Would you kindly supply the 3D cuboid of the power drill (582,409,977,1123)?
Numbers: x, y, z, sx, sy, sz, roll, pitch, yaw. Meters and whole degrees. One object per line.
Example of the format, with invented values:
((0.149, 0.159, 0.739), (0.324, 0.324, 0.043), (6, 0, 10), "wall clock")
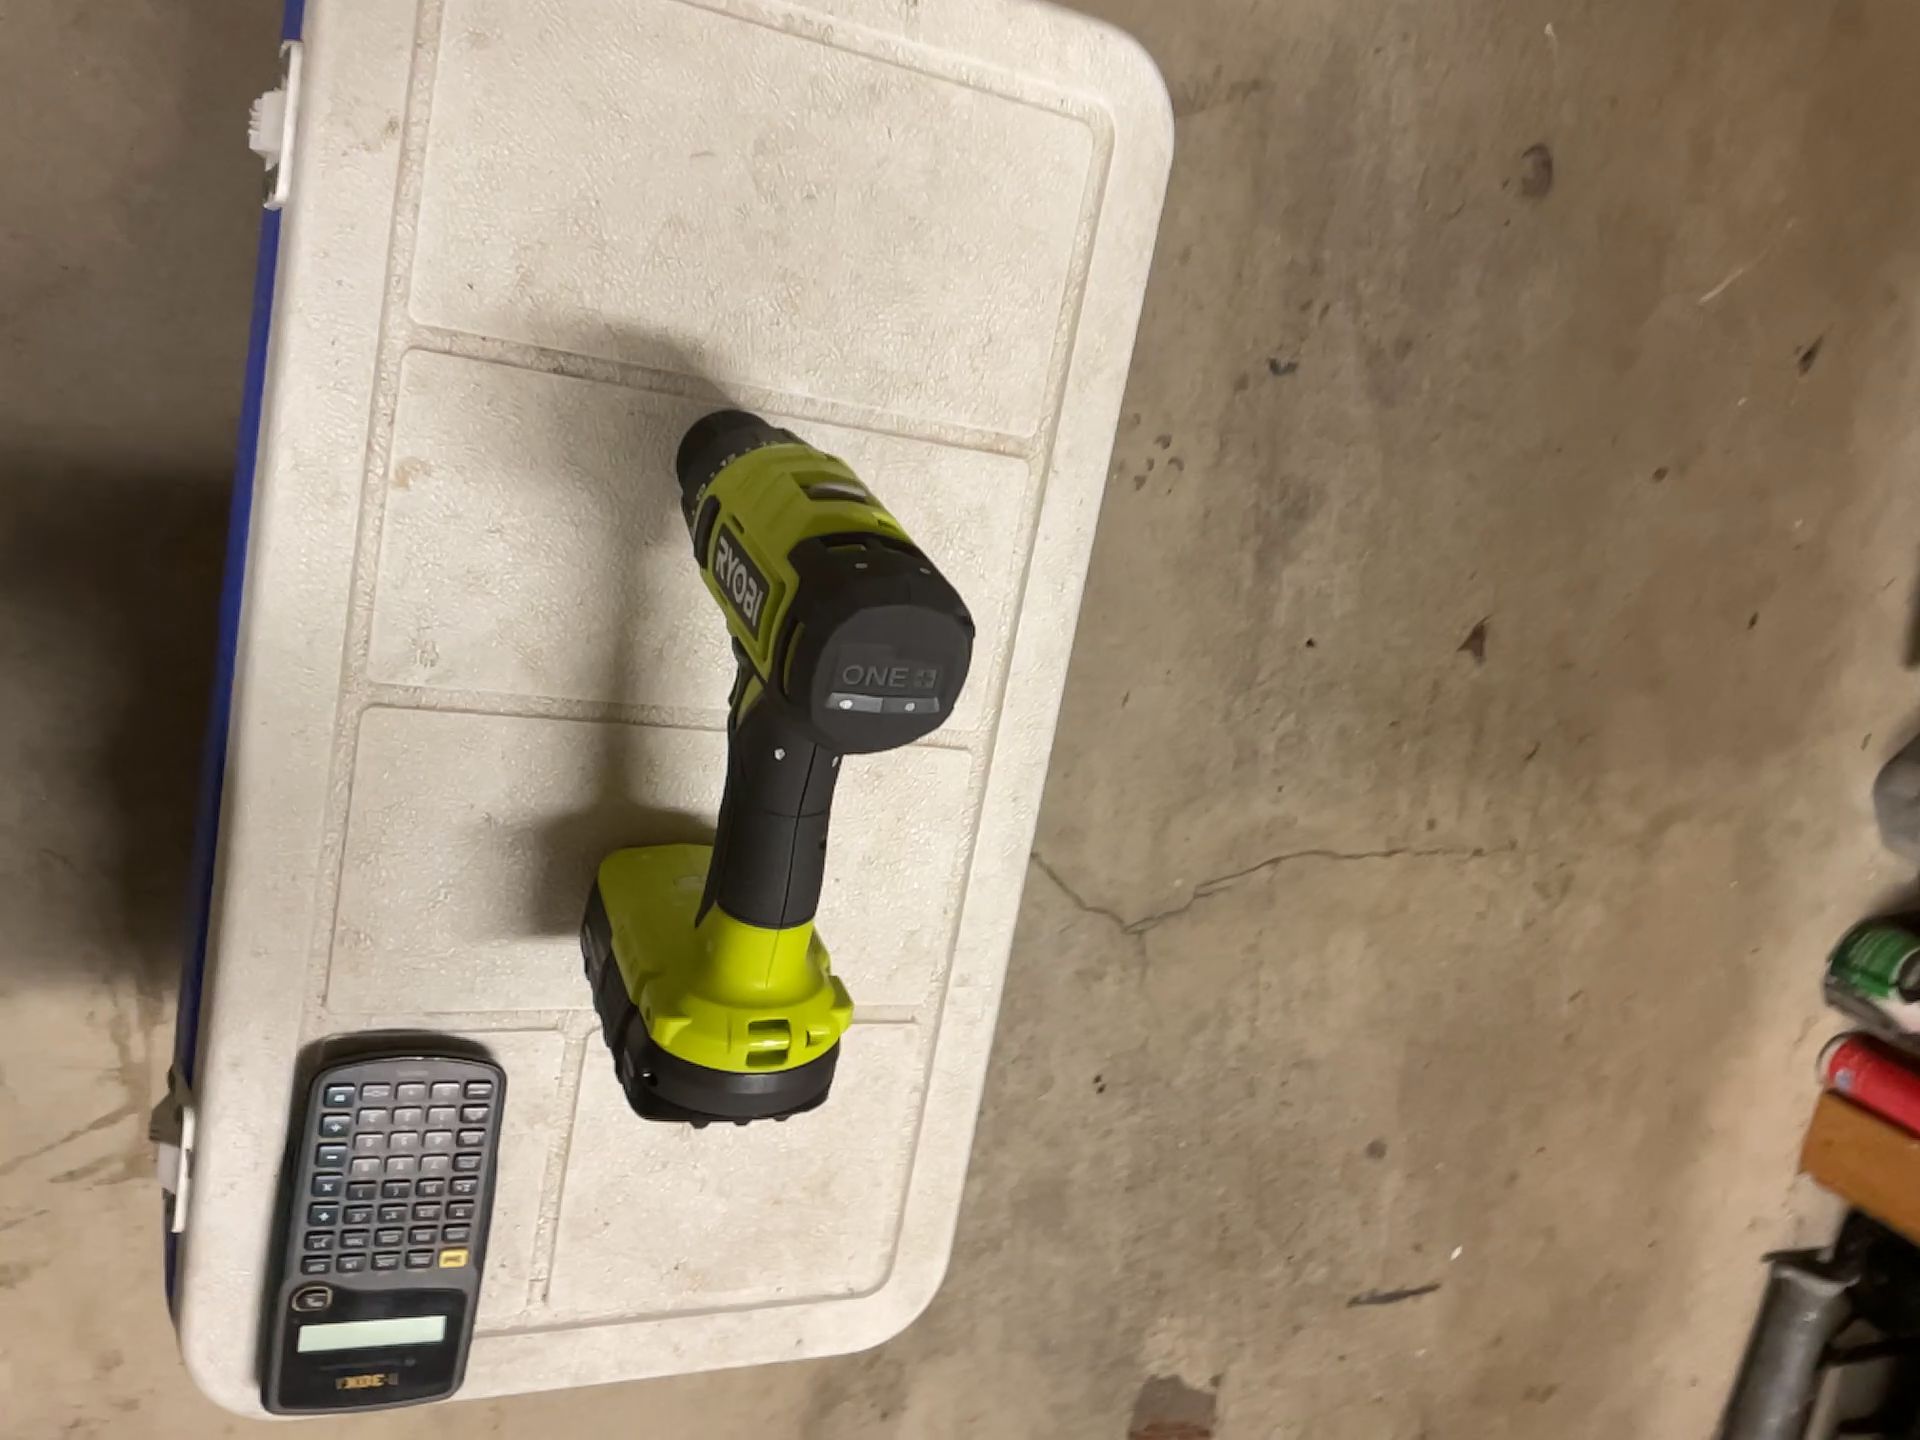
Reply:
((-0.078, 0.010, 0.584), (0.080, 0.190, 0.228), (2, 118, -28), "power drill")
